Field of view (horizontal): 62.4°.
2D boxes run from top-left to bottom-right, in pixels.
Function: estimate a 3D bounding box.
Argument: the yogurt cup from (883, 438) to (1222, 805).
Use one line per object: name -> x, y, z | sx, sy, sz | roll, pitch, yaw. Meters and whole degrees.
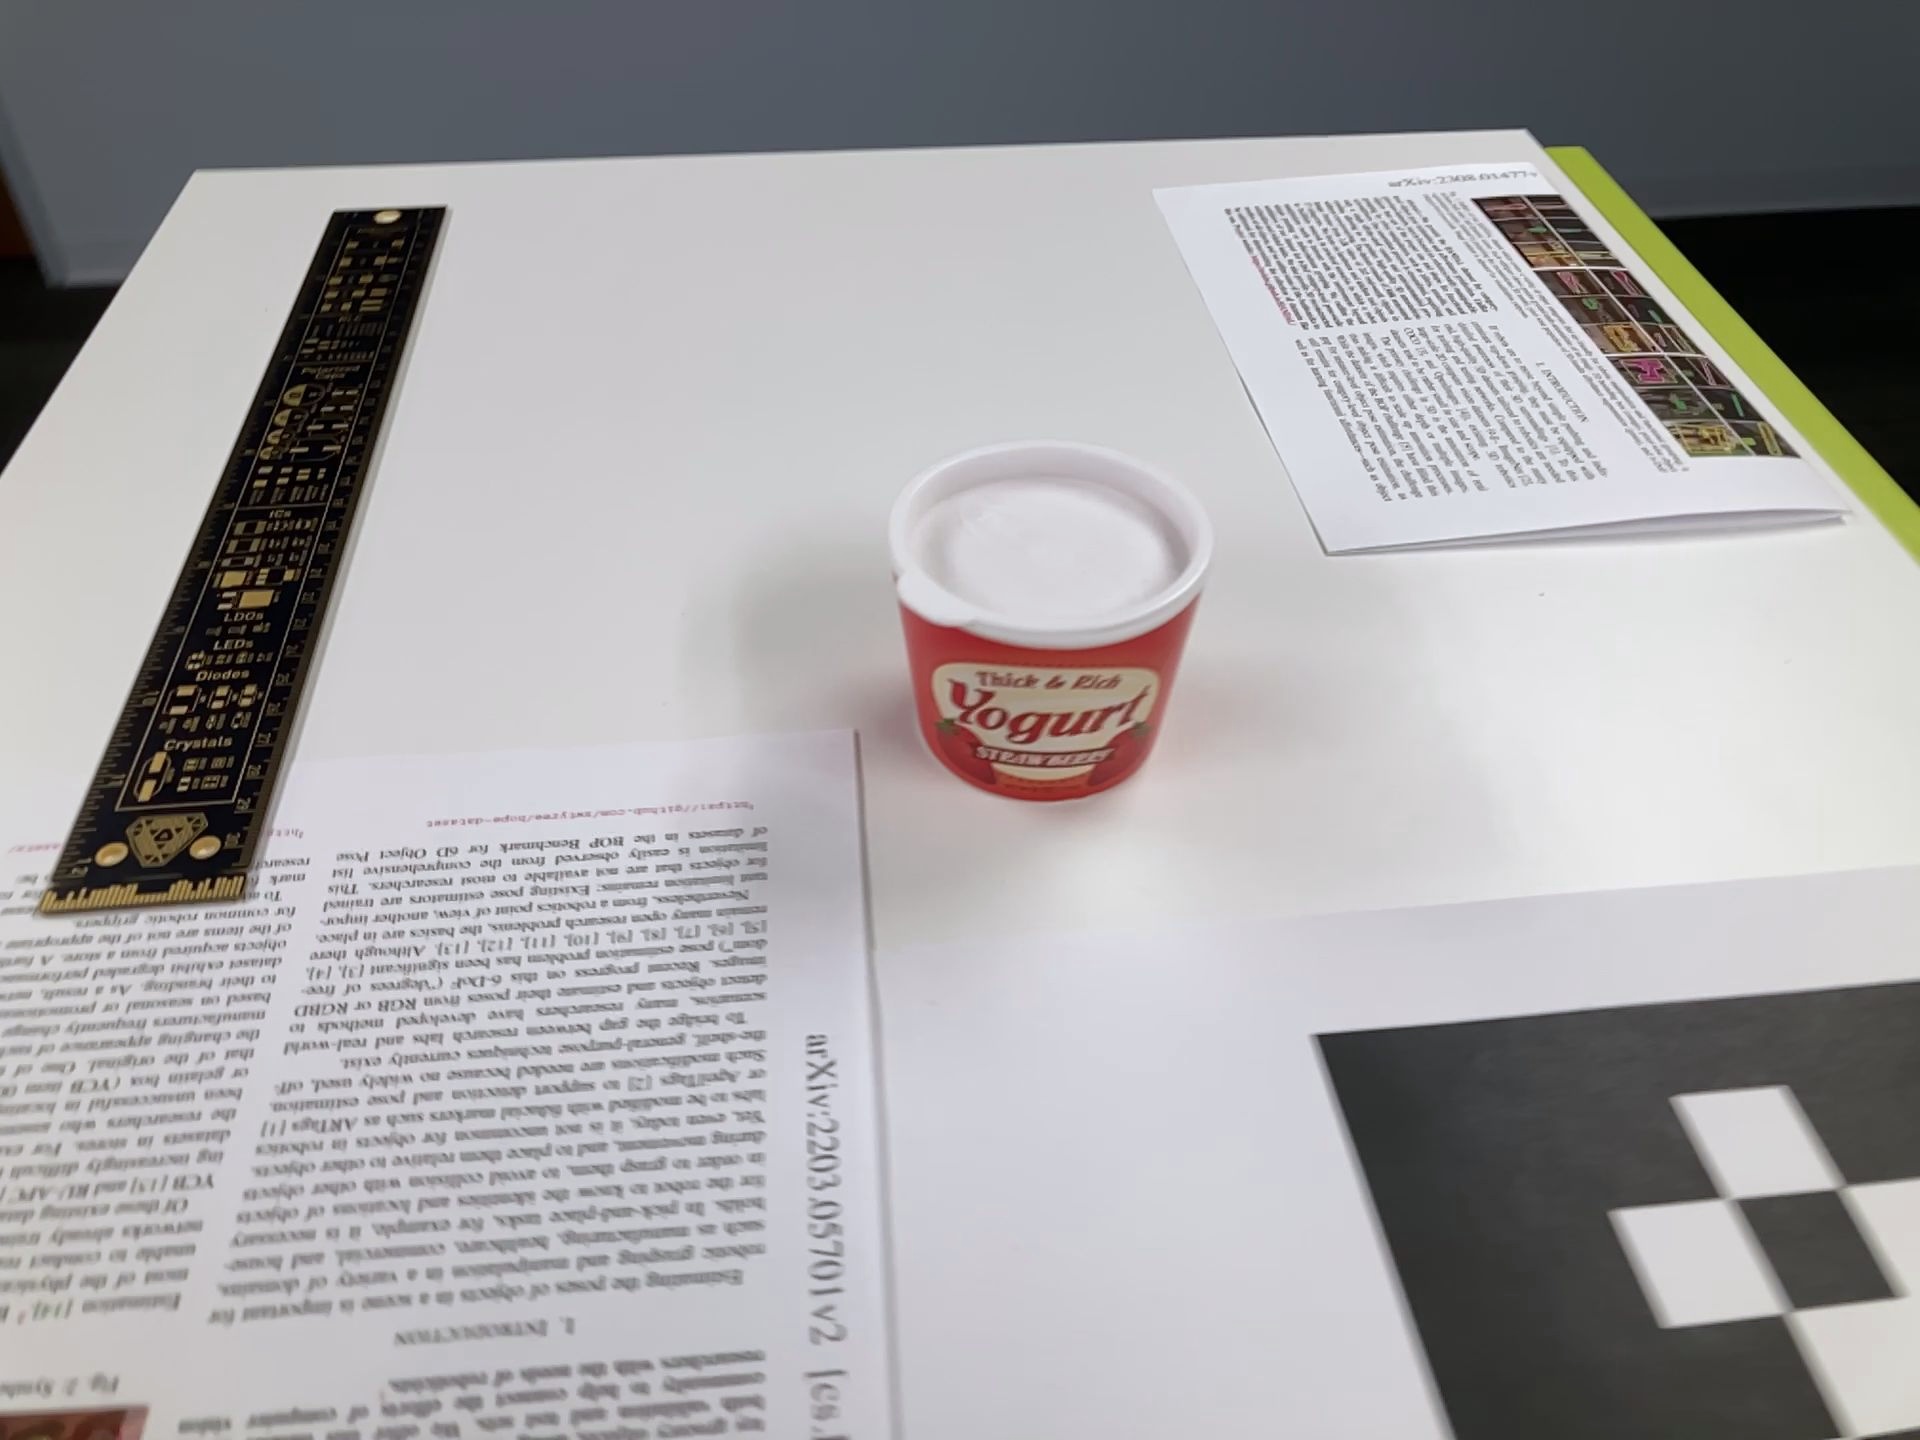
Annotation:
yogurt cup -> 0.018, -0.020, 0.334 | 0.072, 0.054, 0.072 | 1, 41, -1
